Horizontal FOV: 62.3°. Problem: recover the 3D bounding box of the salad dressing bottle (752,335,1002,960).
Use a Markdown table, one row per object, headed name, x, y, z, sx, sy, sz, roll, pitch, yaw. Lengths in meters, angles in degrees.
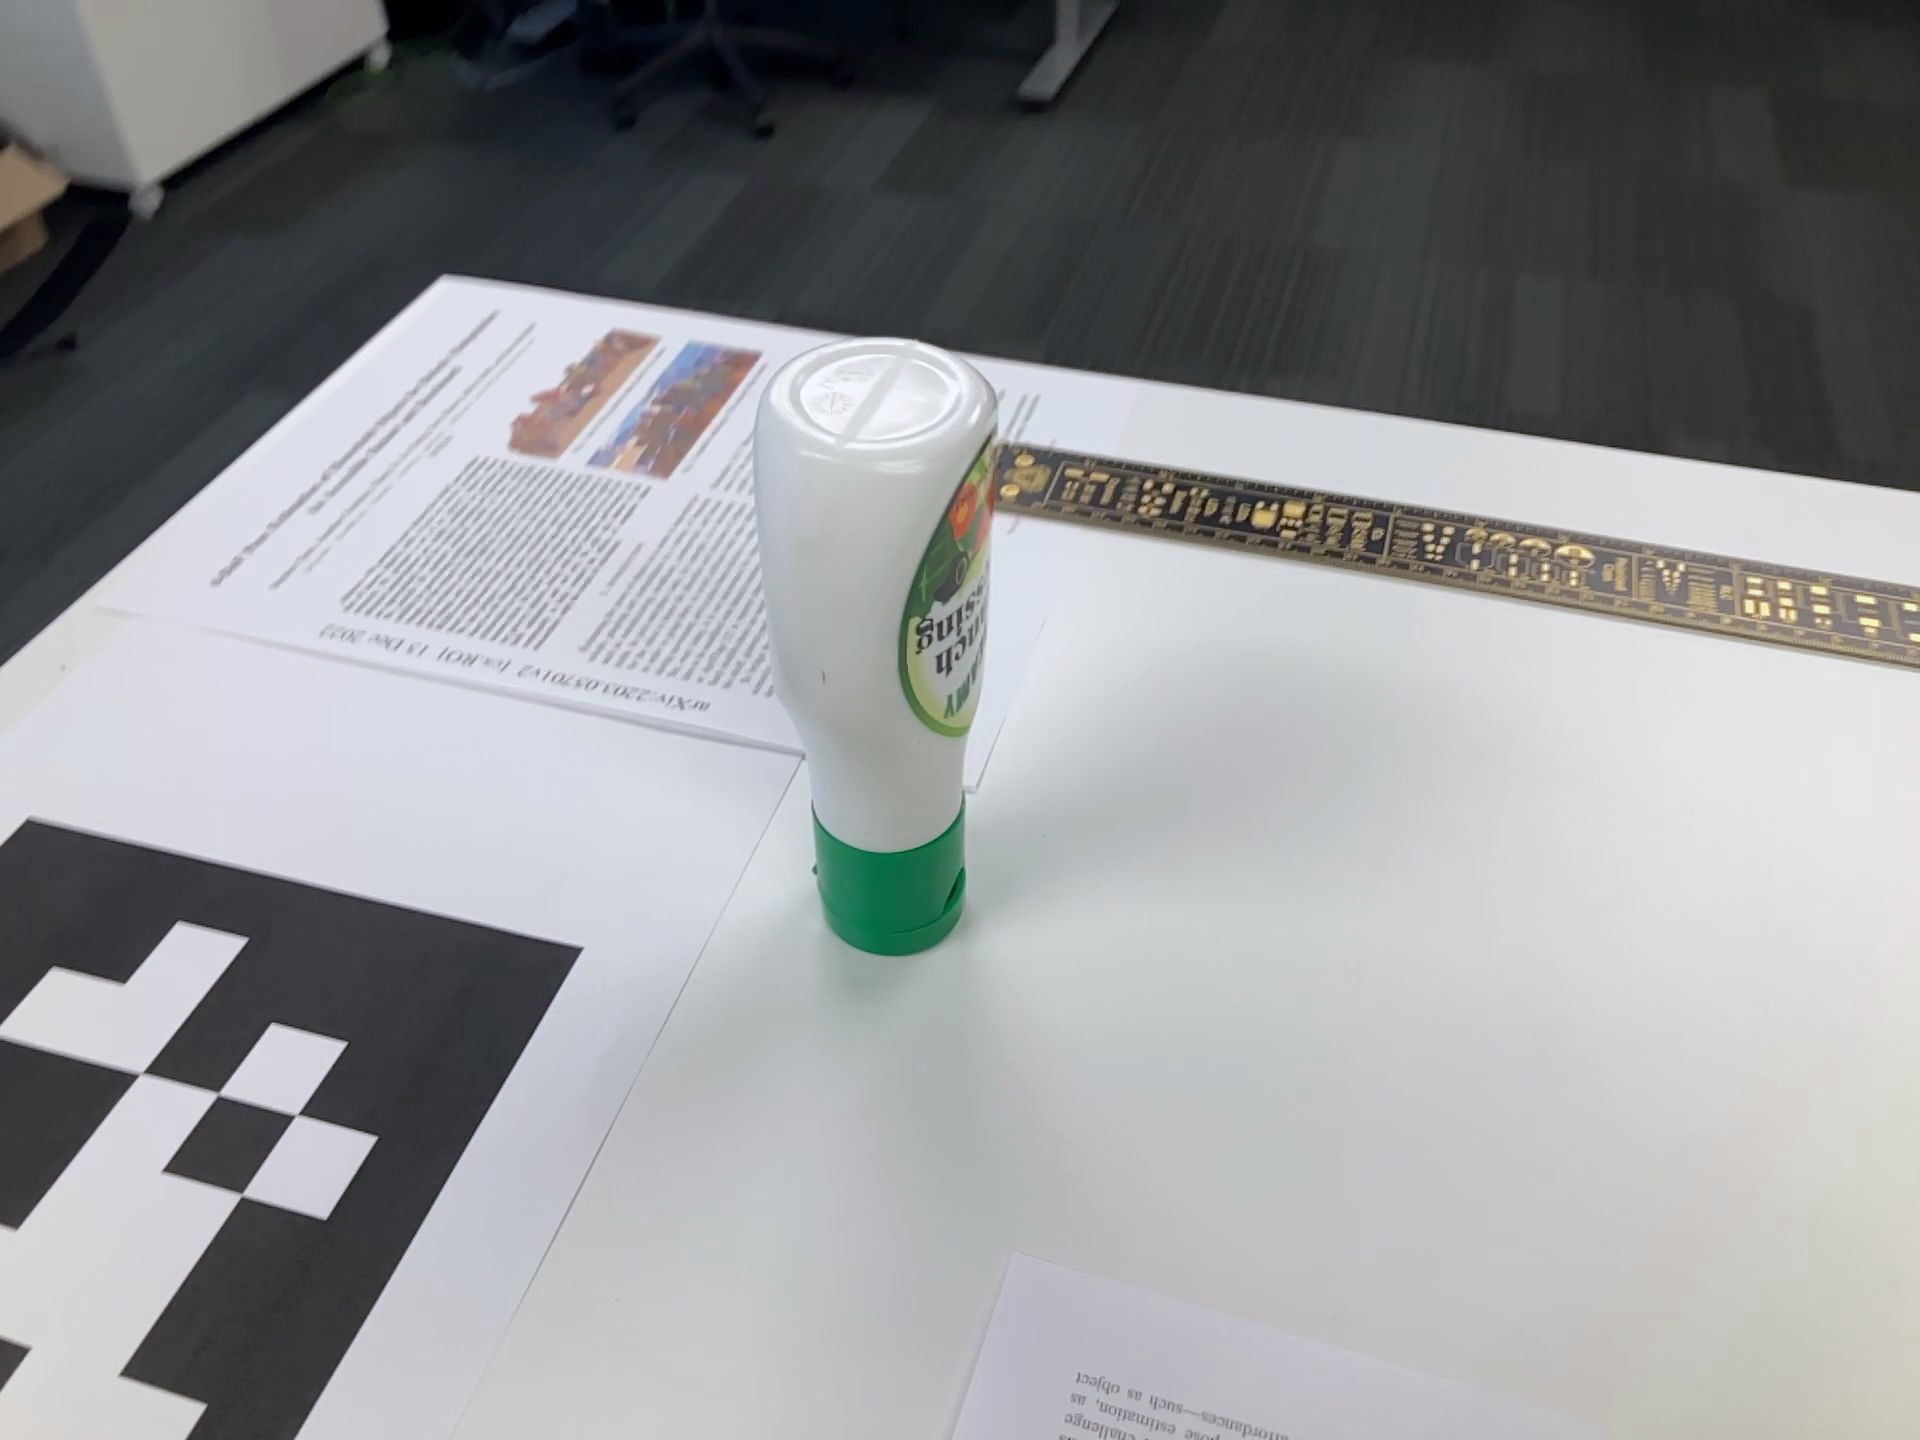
| name | x | y | z | sx | sy | sz | roll | pitch | yaw |
| --- | --- | --- | --- | --- | --- | --- | --- | --- | --- |
| salad dressing bottle | -0.016 | -0.008 | 0.345 | 0.044 | 0.147 | 0.064 | 13 | 45 | 13 |
